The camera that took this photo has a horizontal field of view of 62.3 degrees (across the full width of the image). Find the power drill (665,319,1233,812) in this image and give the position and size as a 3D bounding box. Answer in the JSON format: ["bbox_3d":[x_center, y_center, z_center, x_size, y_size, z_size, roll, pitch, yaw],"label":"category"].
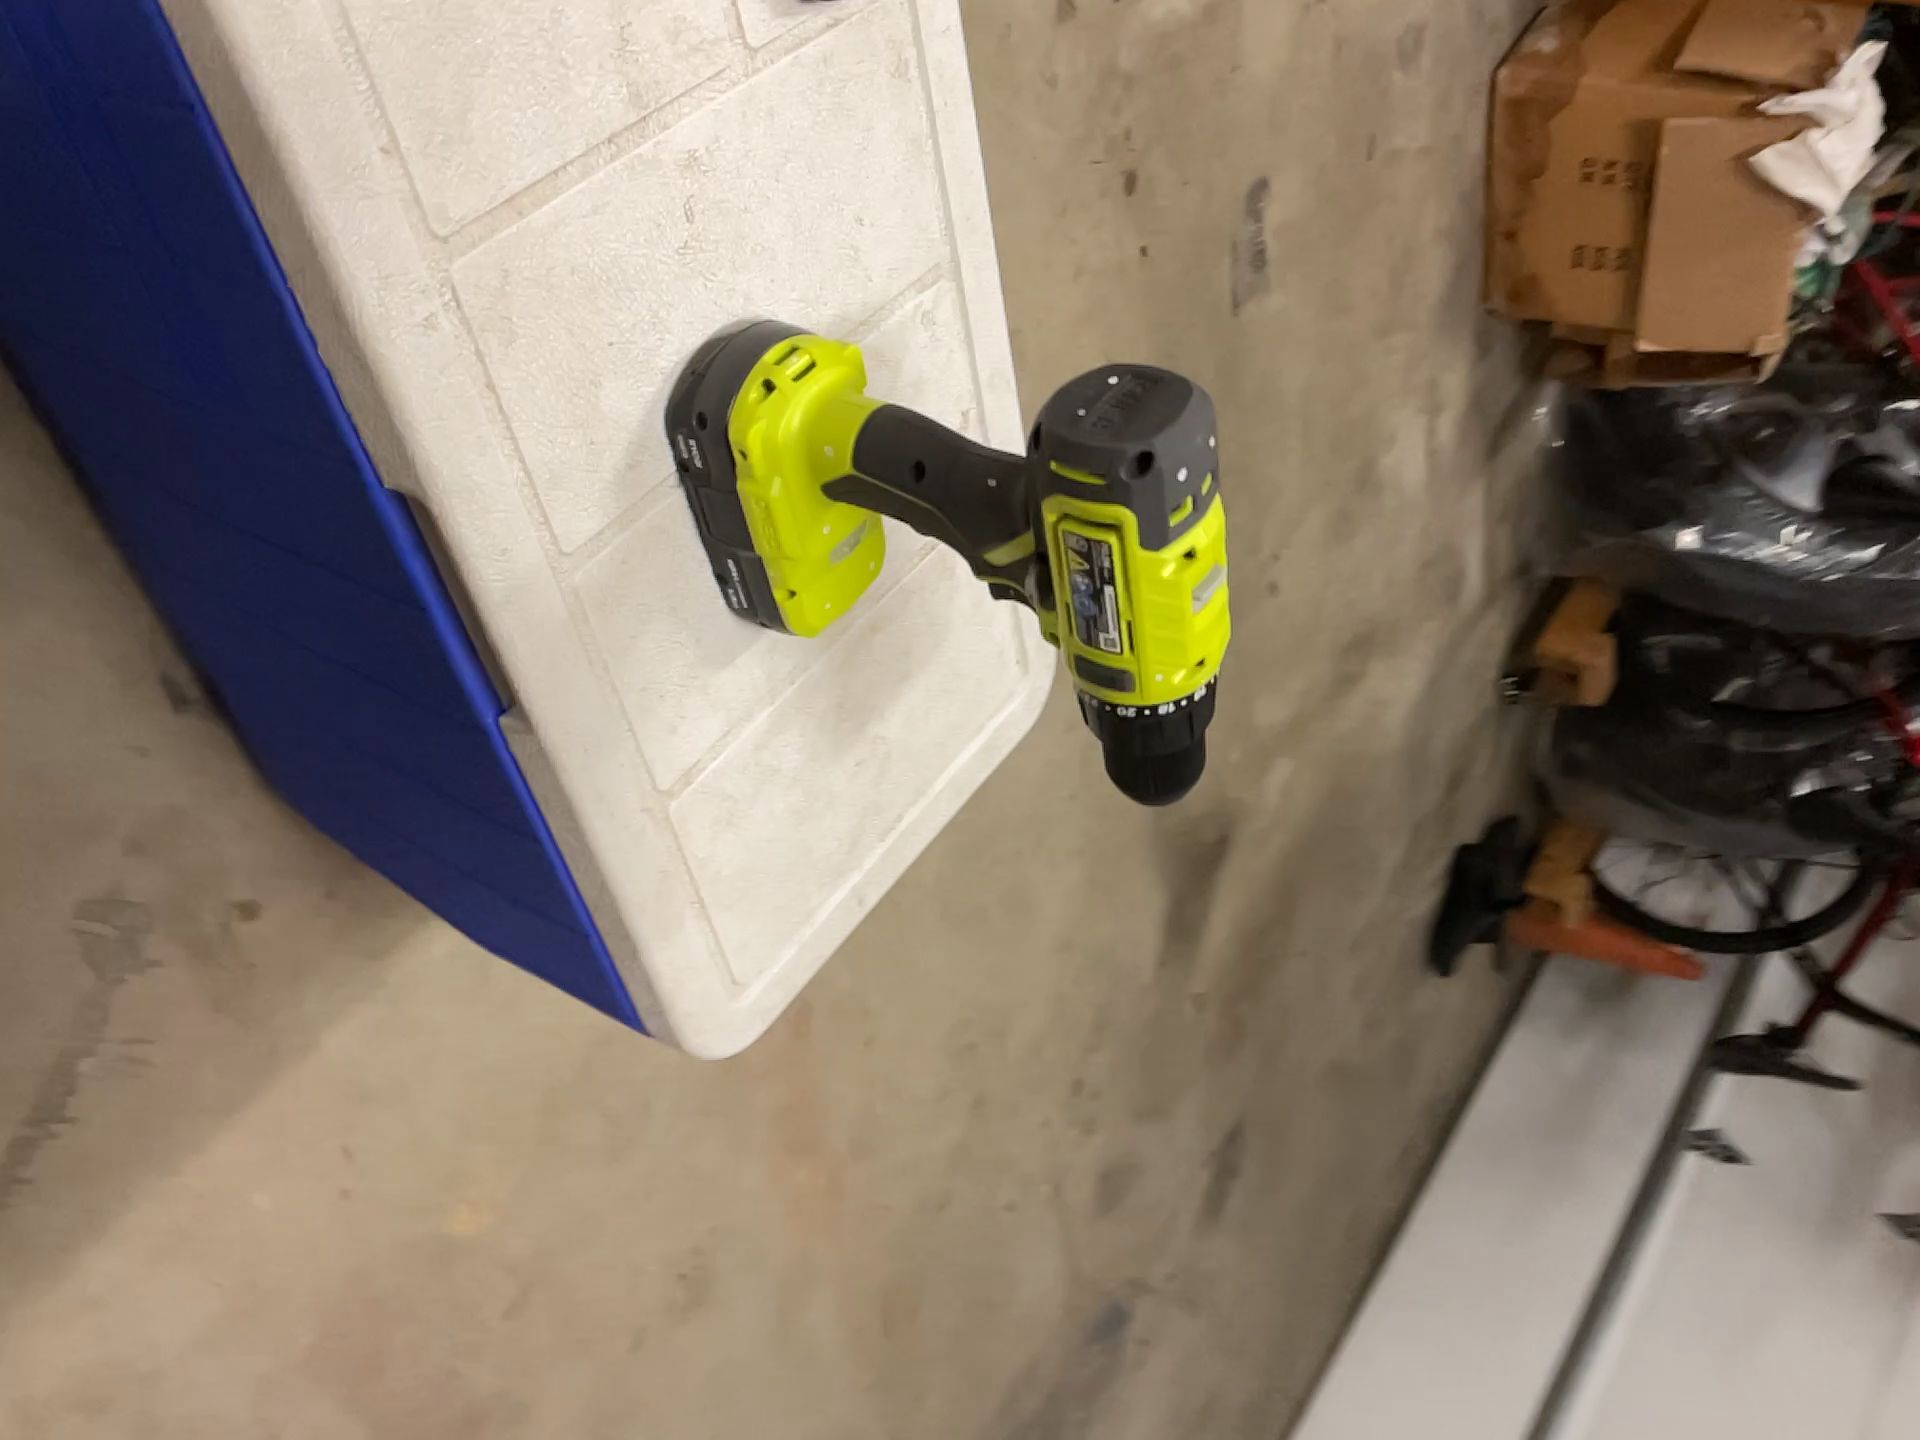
[{"bbox_3d":[0.003,-0.063,0.640,0.080,0.228,0.190,-48,144,-33],"label":"power drill"}]
